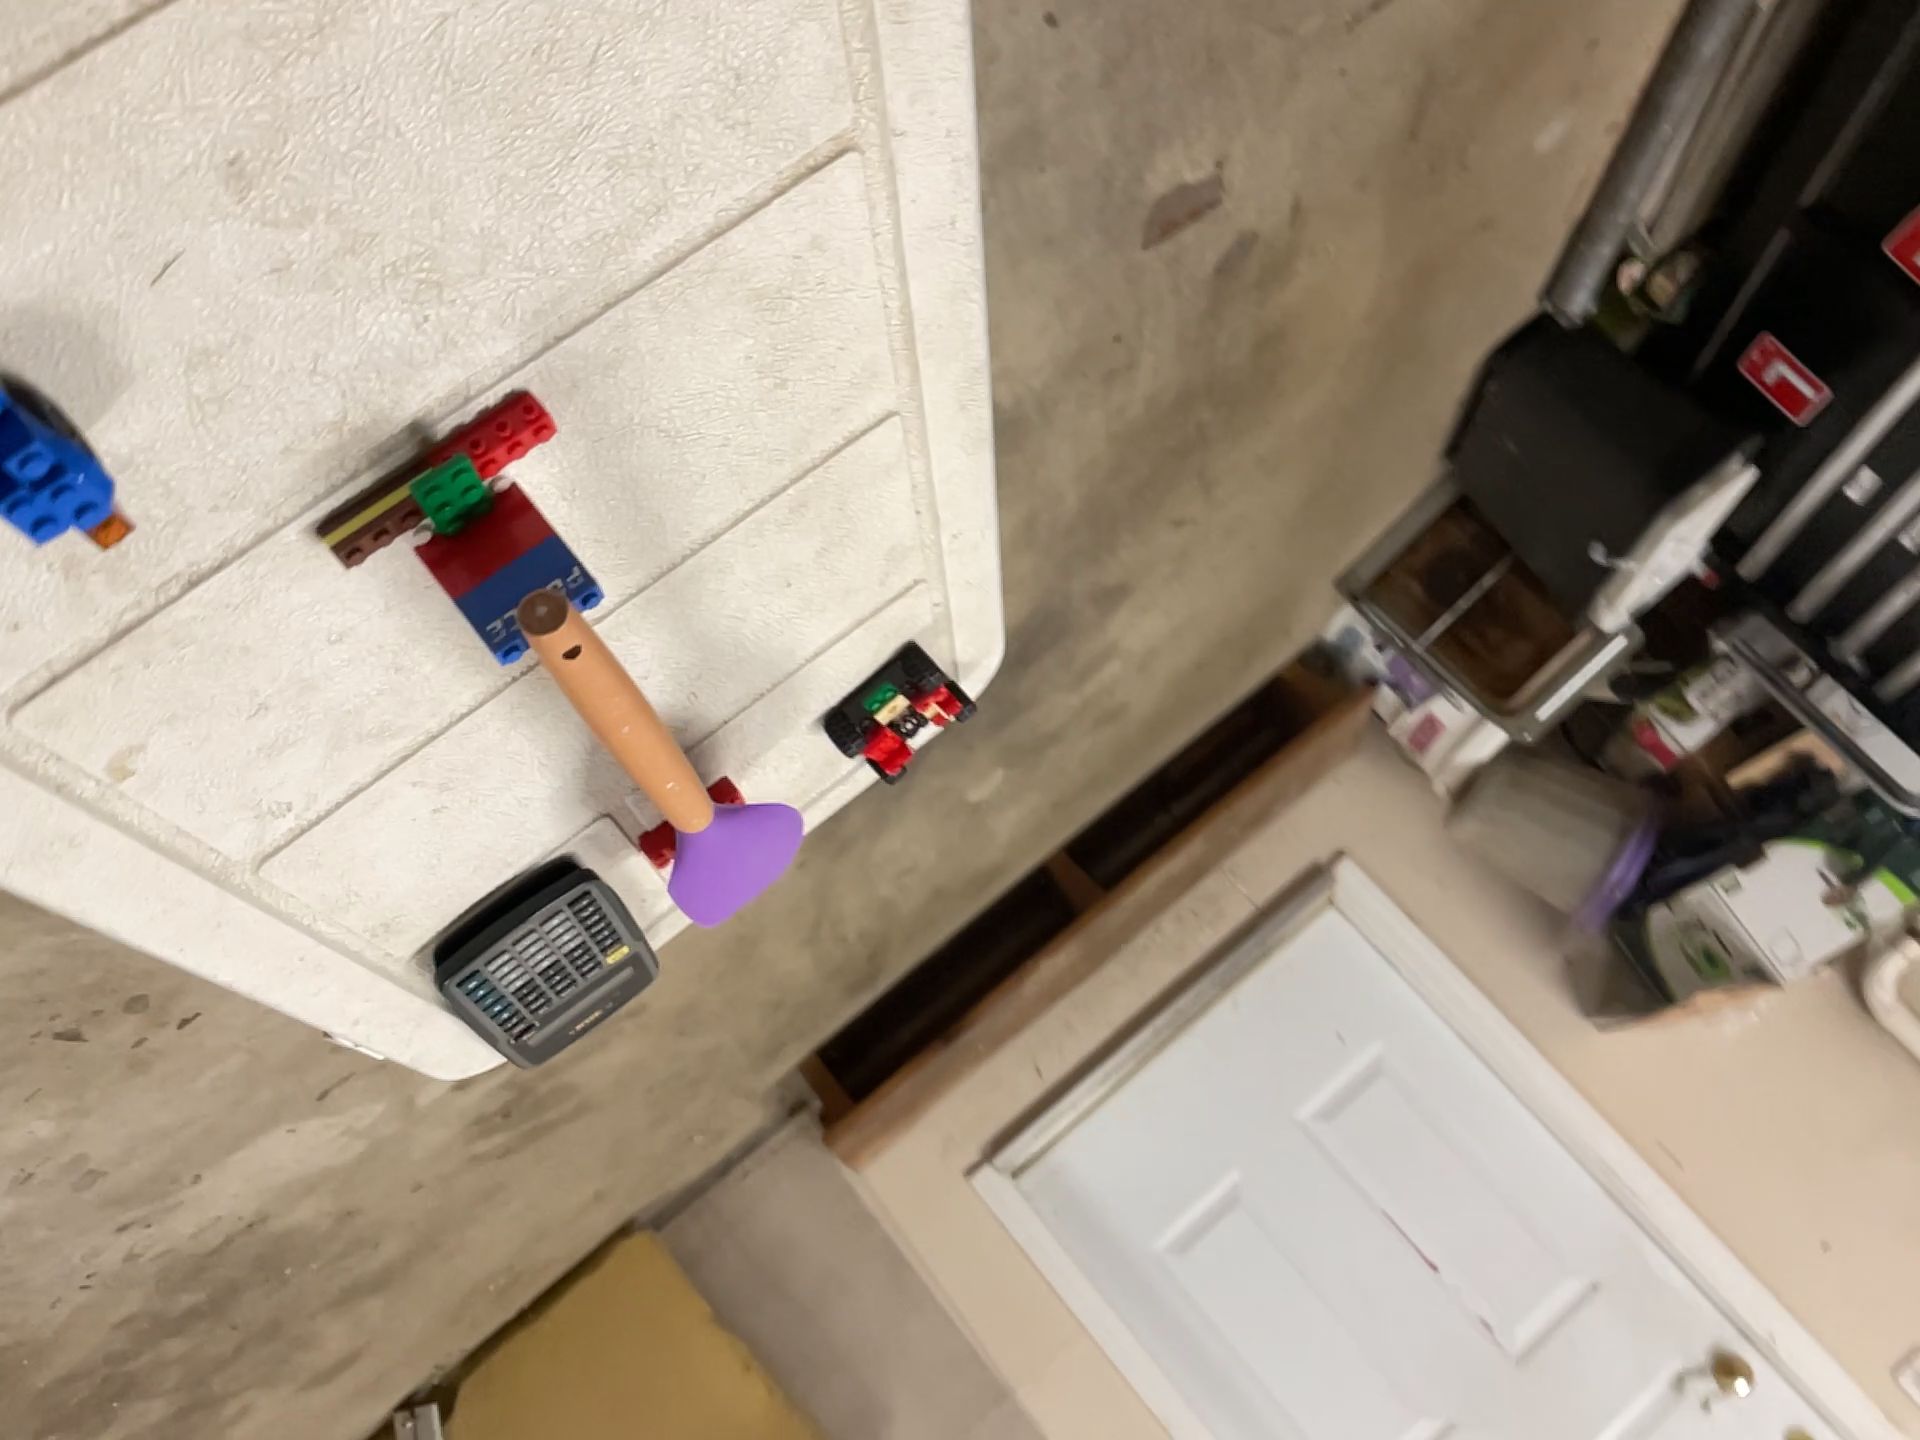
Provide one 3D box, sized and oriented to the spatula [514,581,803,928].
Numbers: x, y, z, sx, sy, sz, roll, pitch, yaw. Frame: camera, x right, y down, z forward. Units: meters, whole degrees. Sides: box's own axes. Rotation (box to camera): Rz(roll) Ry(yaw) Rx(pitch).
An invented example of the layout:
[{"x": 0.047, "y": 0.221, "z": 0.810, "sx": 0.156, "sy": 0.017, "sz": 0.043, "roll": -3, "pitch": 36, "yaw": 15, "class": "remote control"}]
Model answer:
[{"x": -0.093, "y": 0.022, "z": 0.528, "sx": 0.060, "sy": 0.018, "sz": 0.315, "roll": -38, "pitch": 164, "yaw": -9, "class": "spatula"}]
